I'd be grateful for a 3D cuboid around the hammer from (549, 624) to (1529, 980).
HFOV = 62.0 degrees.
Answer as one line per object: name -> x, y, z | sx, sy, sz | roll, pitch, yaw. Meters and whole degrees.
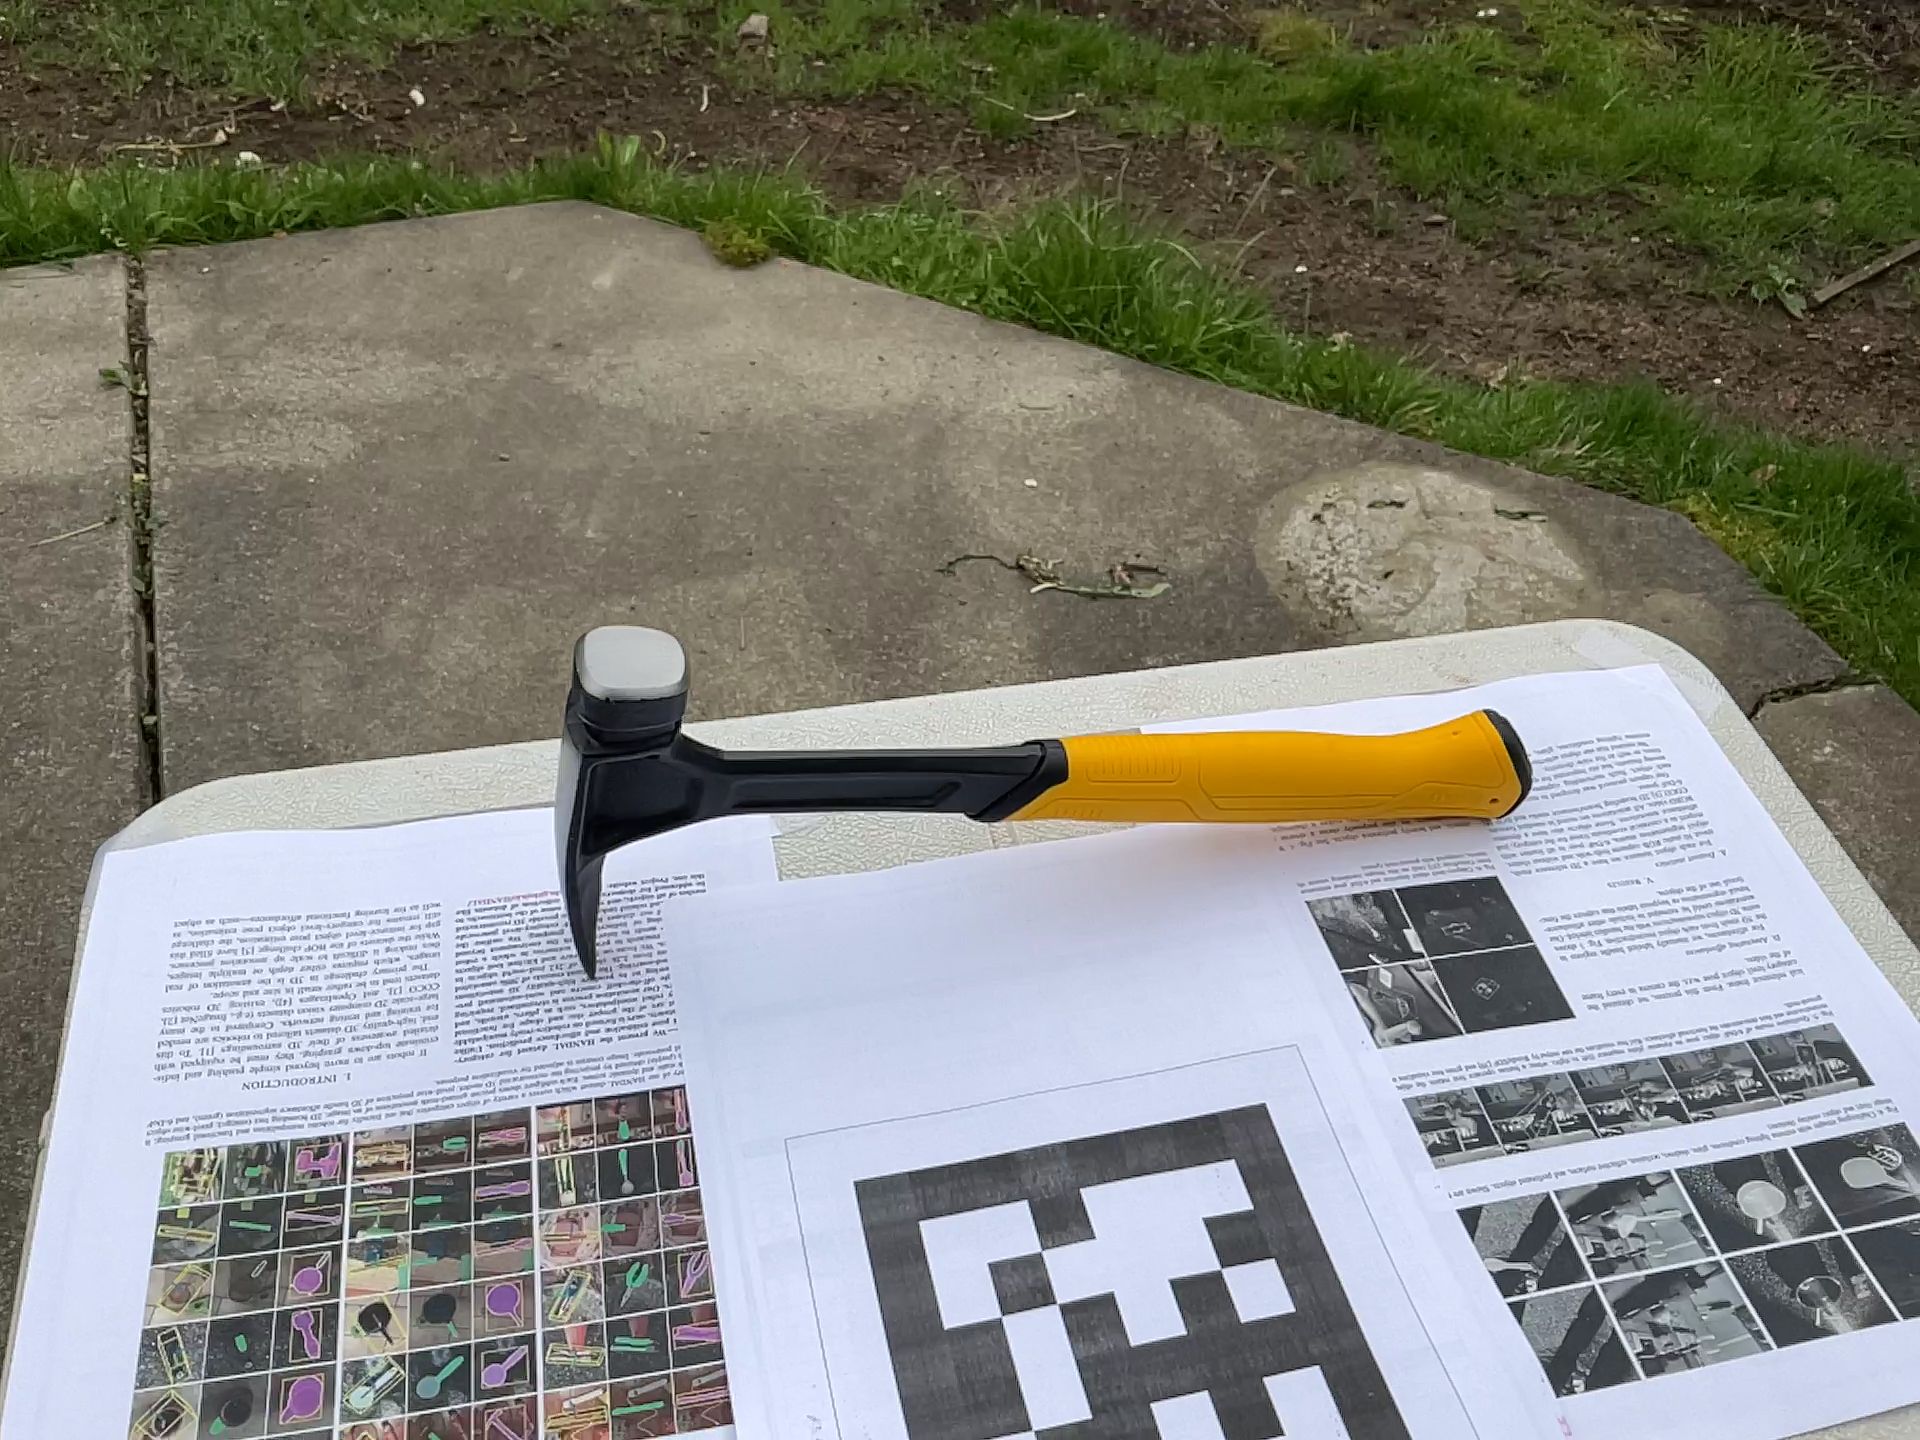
hammer -> 0.037, 0.025, 0.528 | 0.336, 0.127, 0.034 | 0, 46, -19
